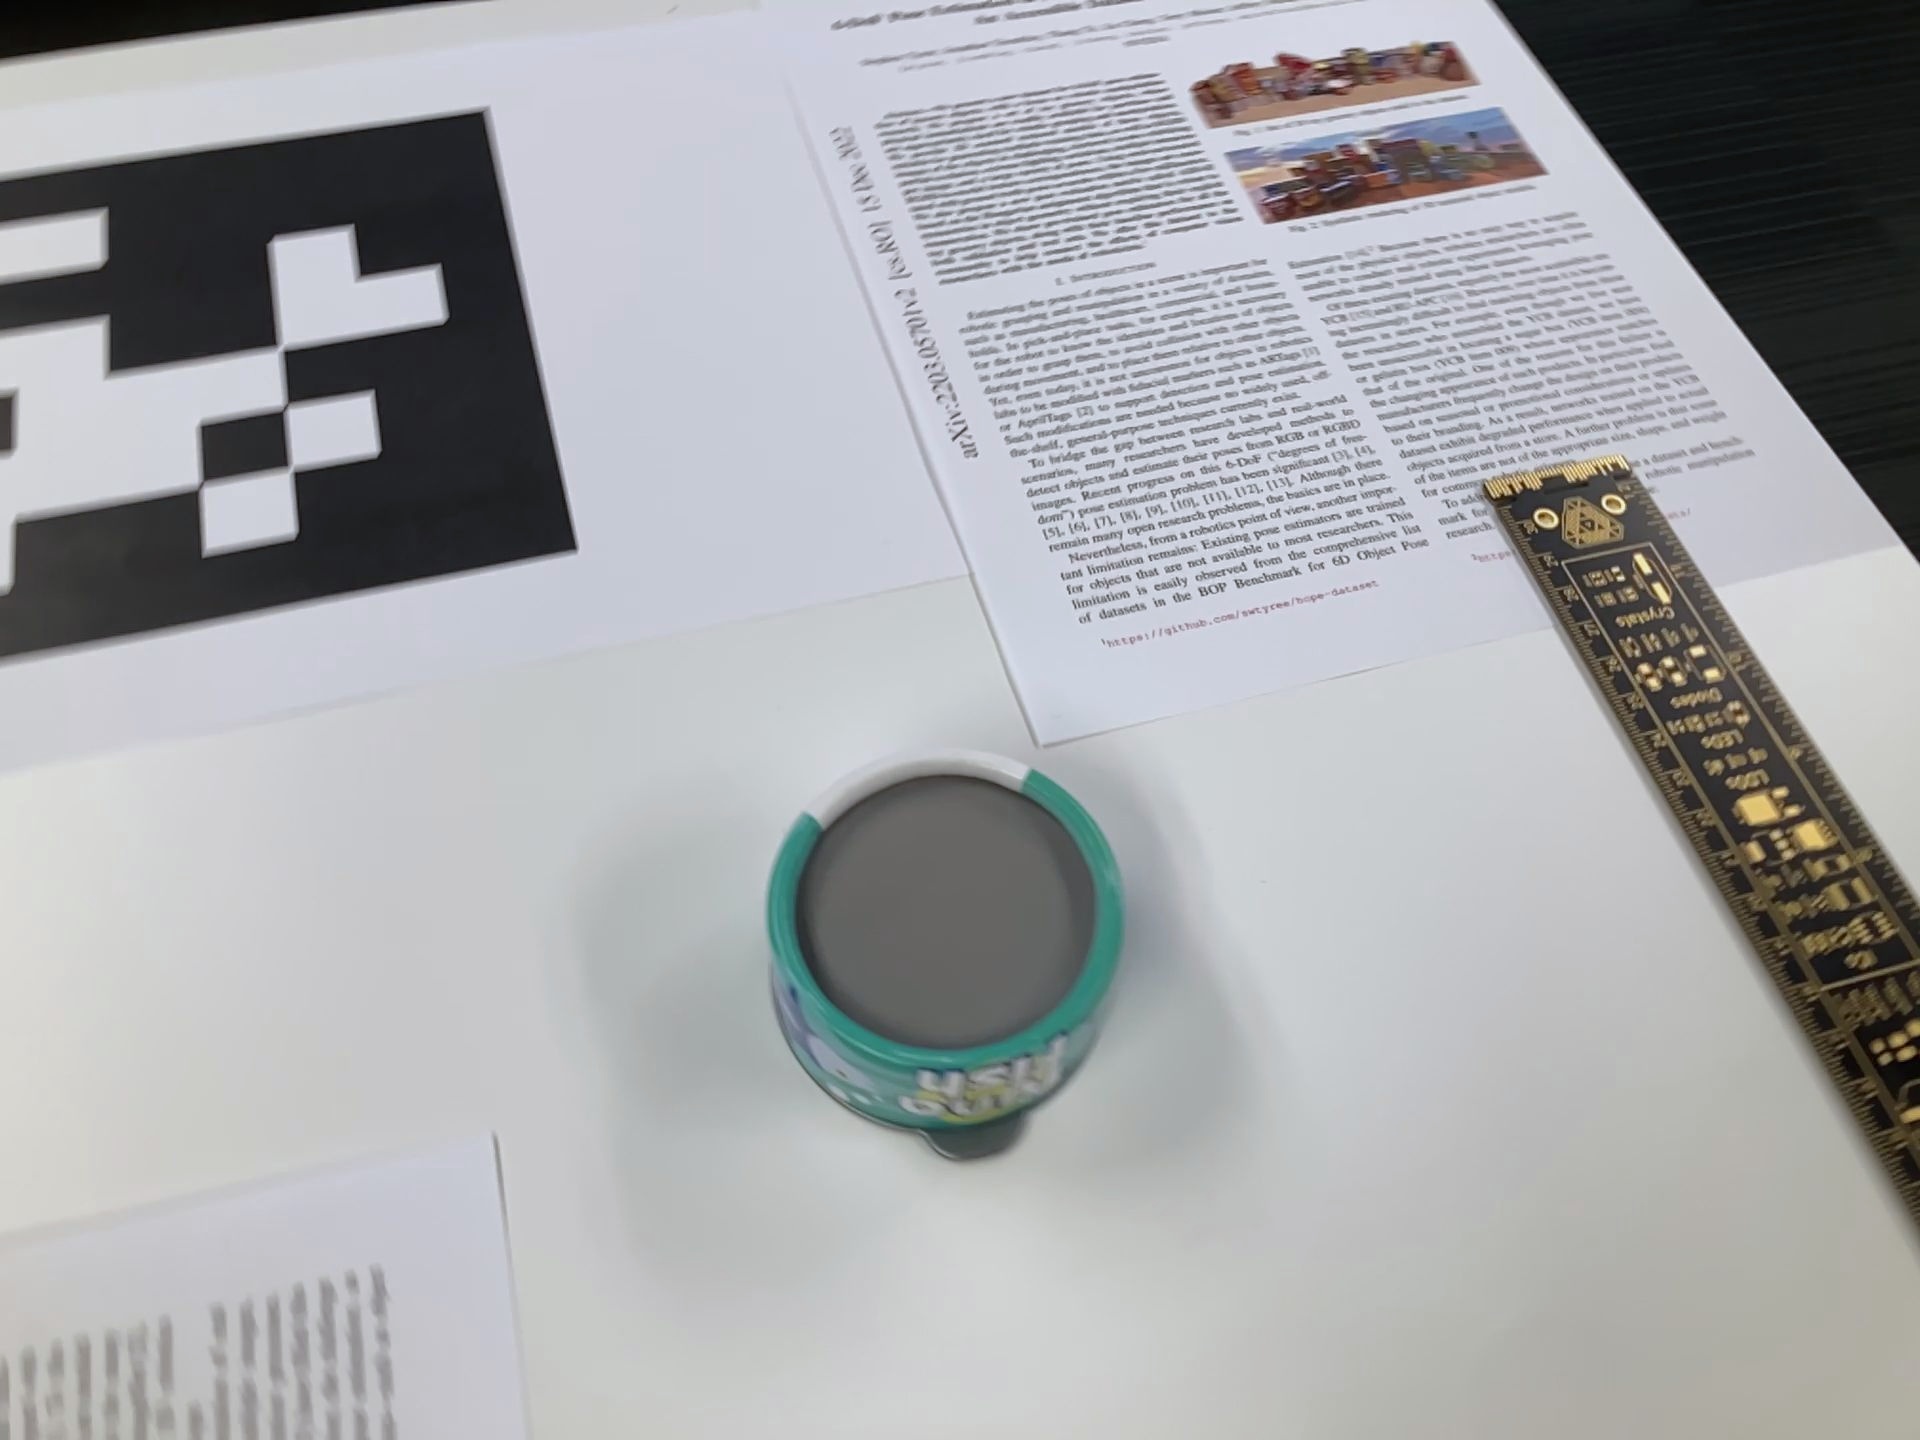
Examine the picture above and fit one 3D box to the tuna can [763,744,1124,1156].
[{"bbox_3d":[-0.003,0.042,0.296,0.071,0.033,0.071,1,59,-1],"label":"tuna can"}]
